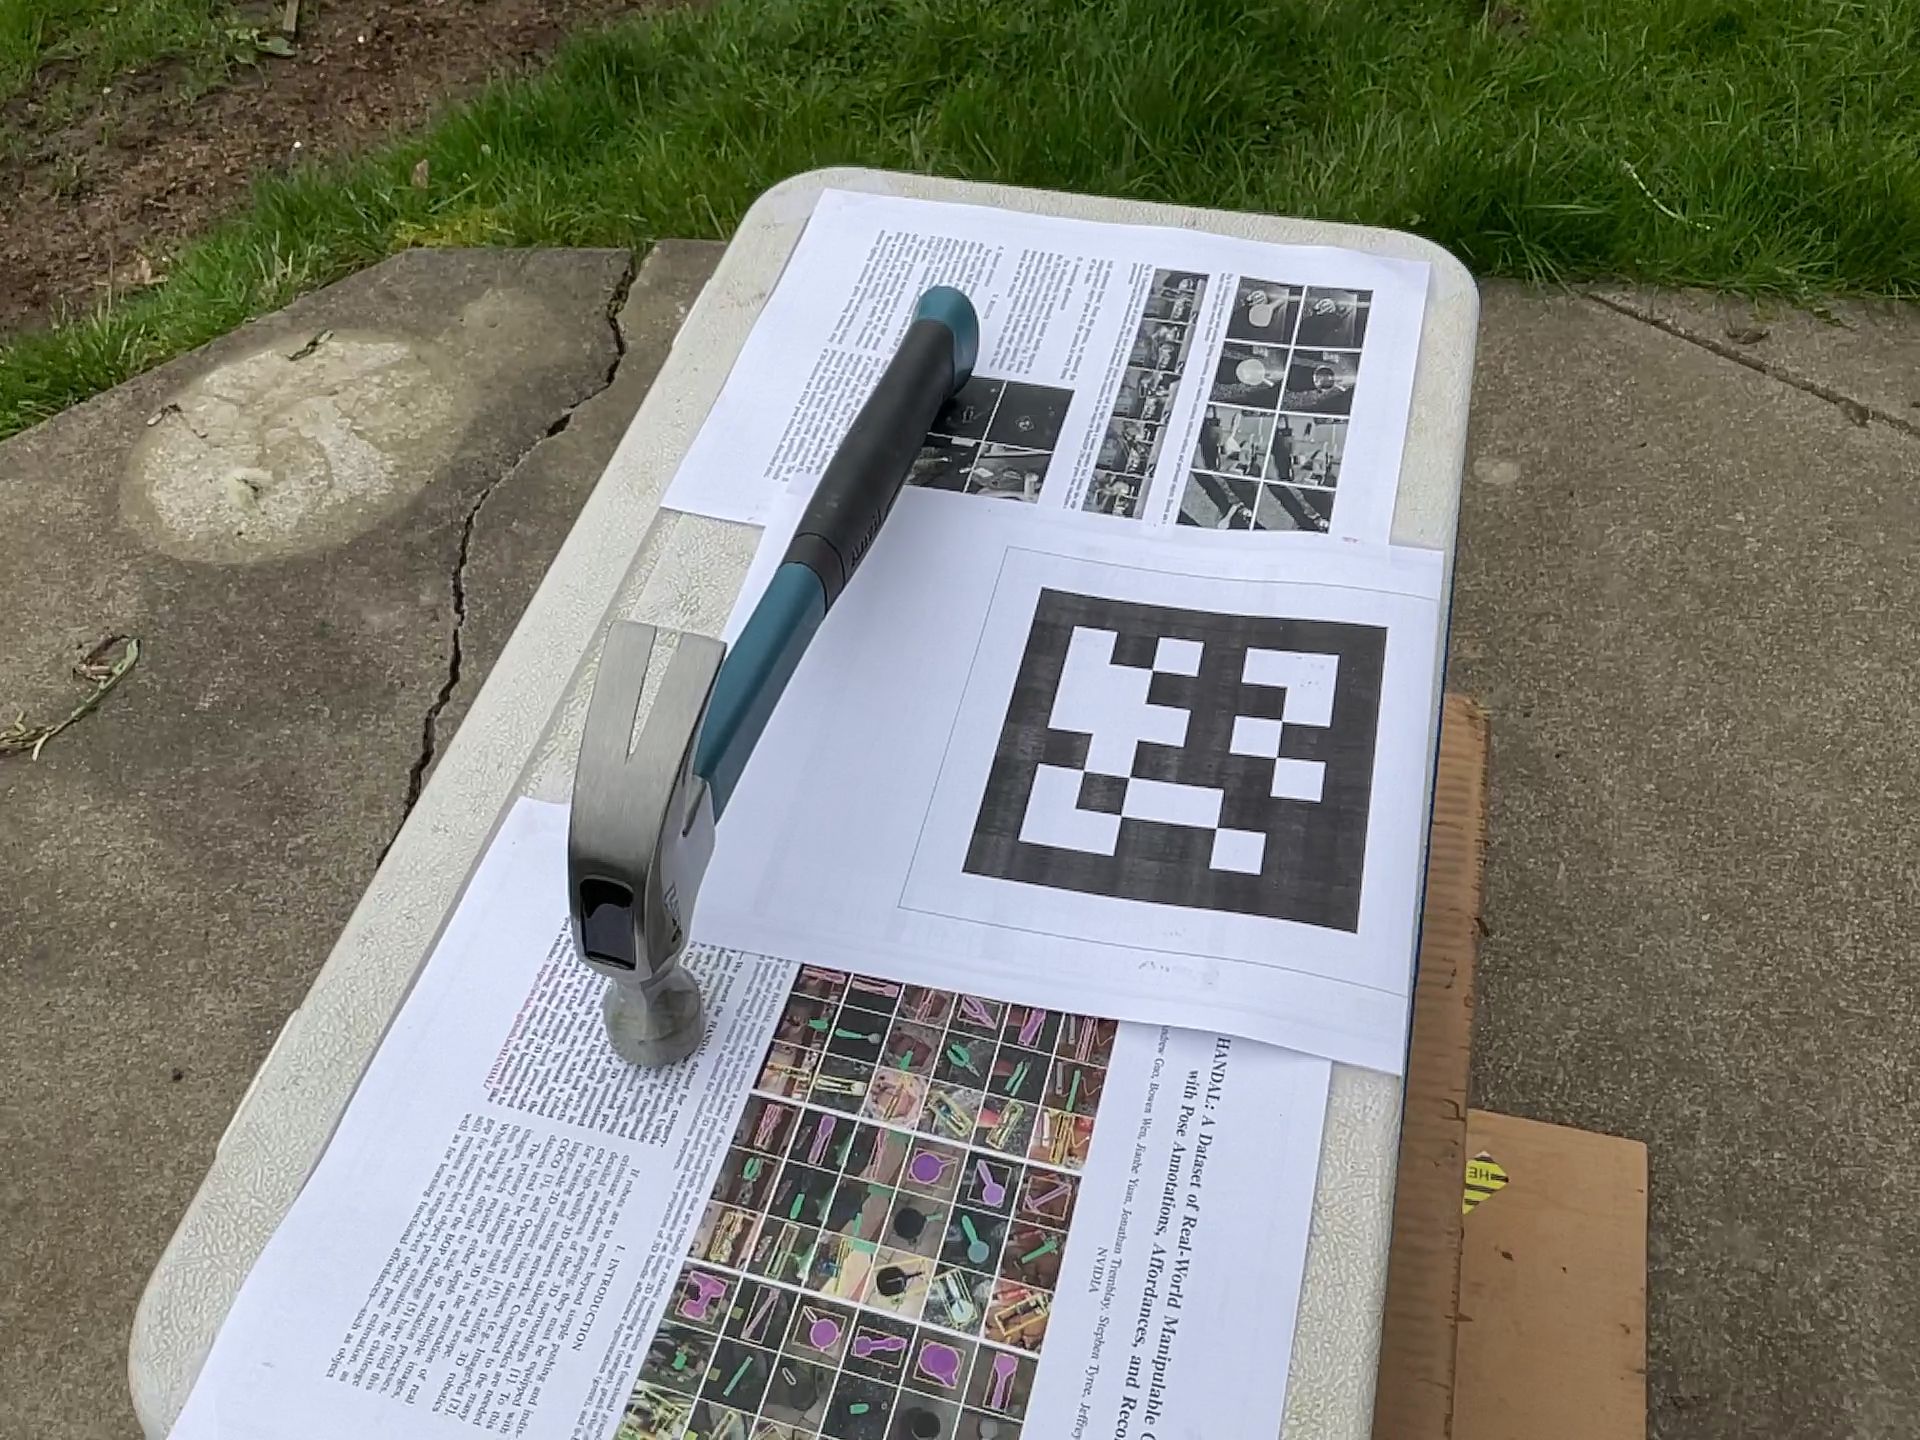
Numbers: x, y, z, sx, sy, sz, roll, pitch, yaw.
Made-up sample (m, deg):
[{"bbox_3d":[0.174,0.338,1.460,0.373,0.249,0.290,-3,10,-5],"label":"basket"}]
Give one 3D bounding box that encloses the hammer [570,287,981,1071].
[{"bbox_3d":[-0.050,-0.050,0.547,0.033,0.128,0.331,12,46,10],"label":"hammer"}]
